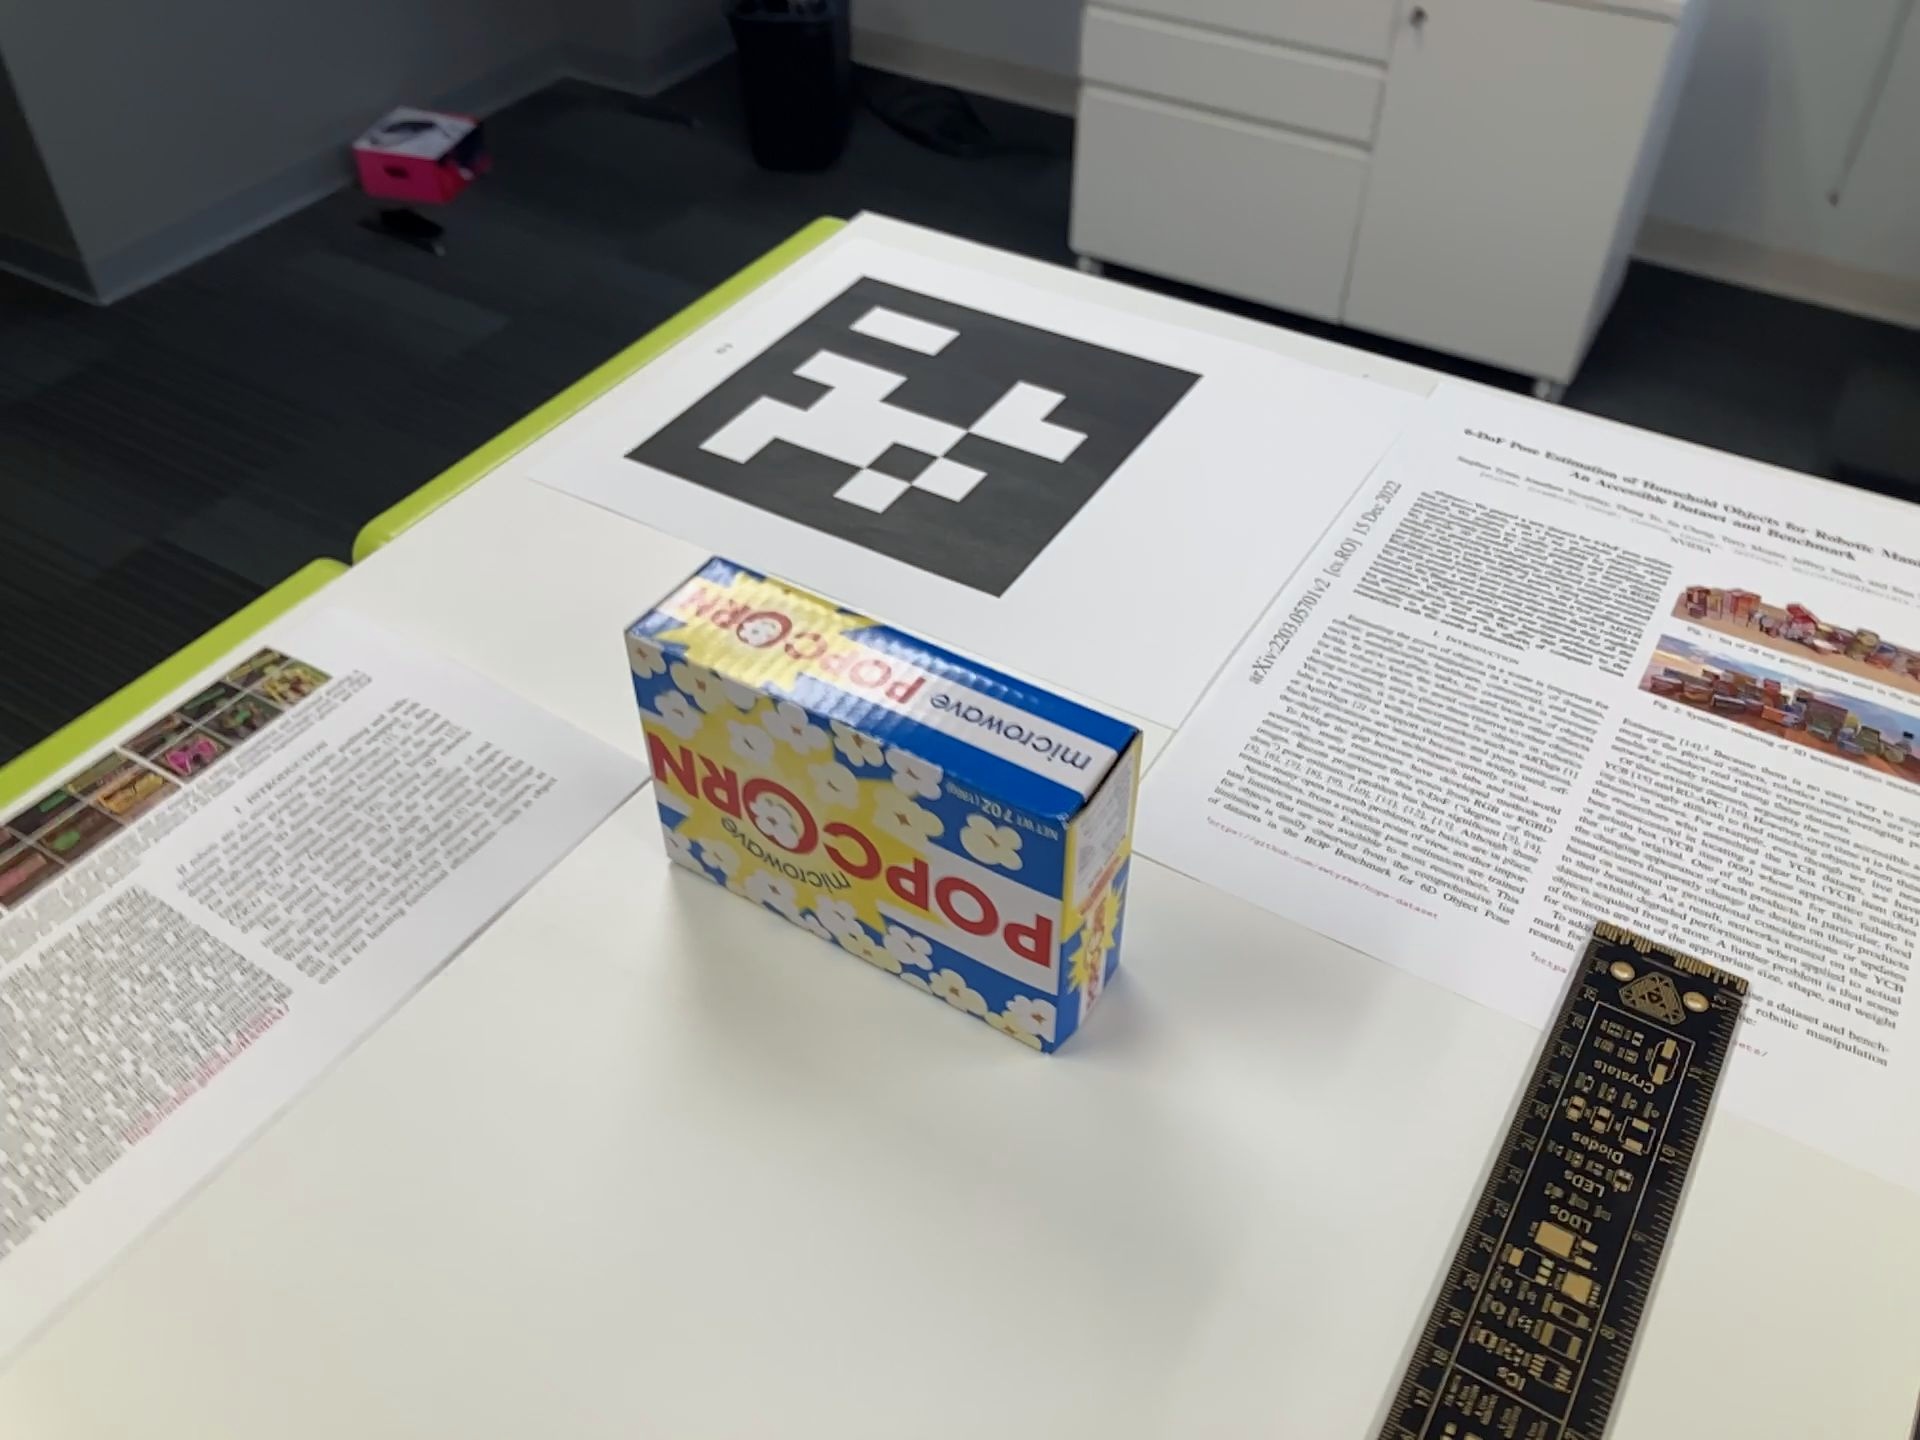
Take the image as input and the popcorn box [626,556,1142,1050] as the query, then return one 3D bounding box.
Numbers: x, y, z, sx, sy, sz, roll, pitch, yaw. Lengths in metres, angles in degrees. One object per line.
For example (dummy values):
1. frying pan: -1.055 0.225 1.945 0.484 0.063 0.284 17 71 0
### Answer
1. popcorn box: -0.020 0.020 0.402 0.126 0.085 0.038 23 49 23
